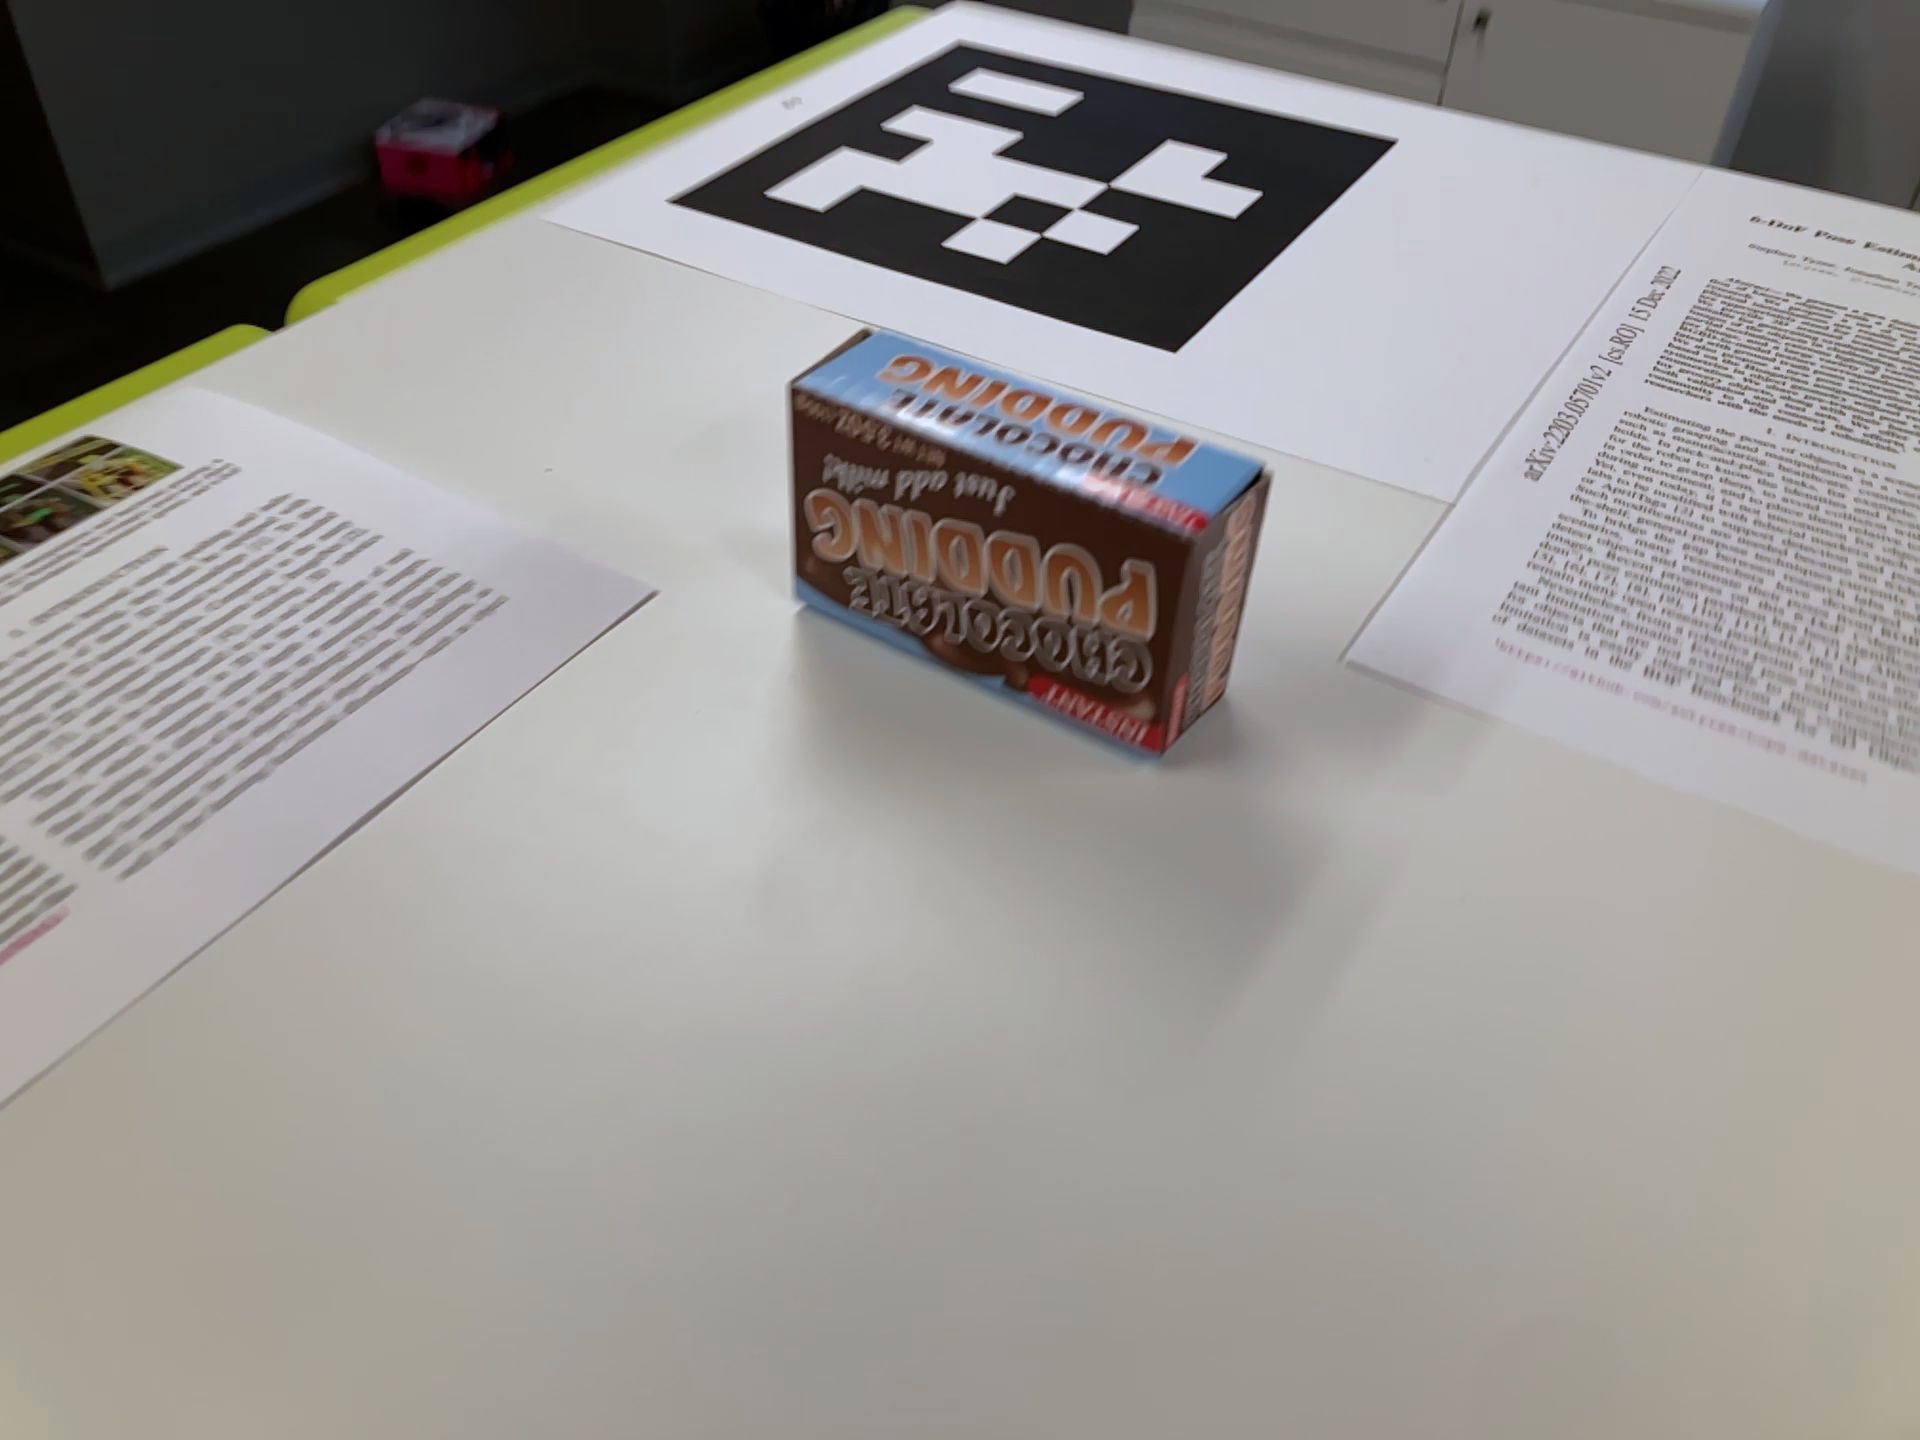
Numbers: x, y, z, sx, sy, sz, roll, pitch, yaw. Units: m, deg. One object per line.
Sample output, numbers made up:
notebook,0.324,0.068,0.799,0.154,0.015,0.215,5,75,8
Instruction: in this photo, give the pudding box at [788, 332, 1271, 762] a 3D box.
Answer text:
pudding box,0.010,-0.033,0.288,0.083,0.049,0.030,25,44,24
